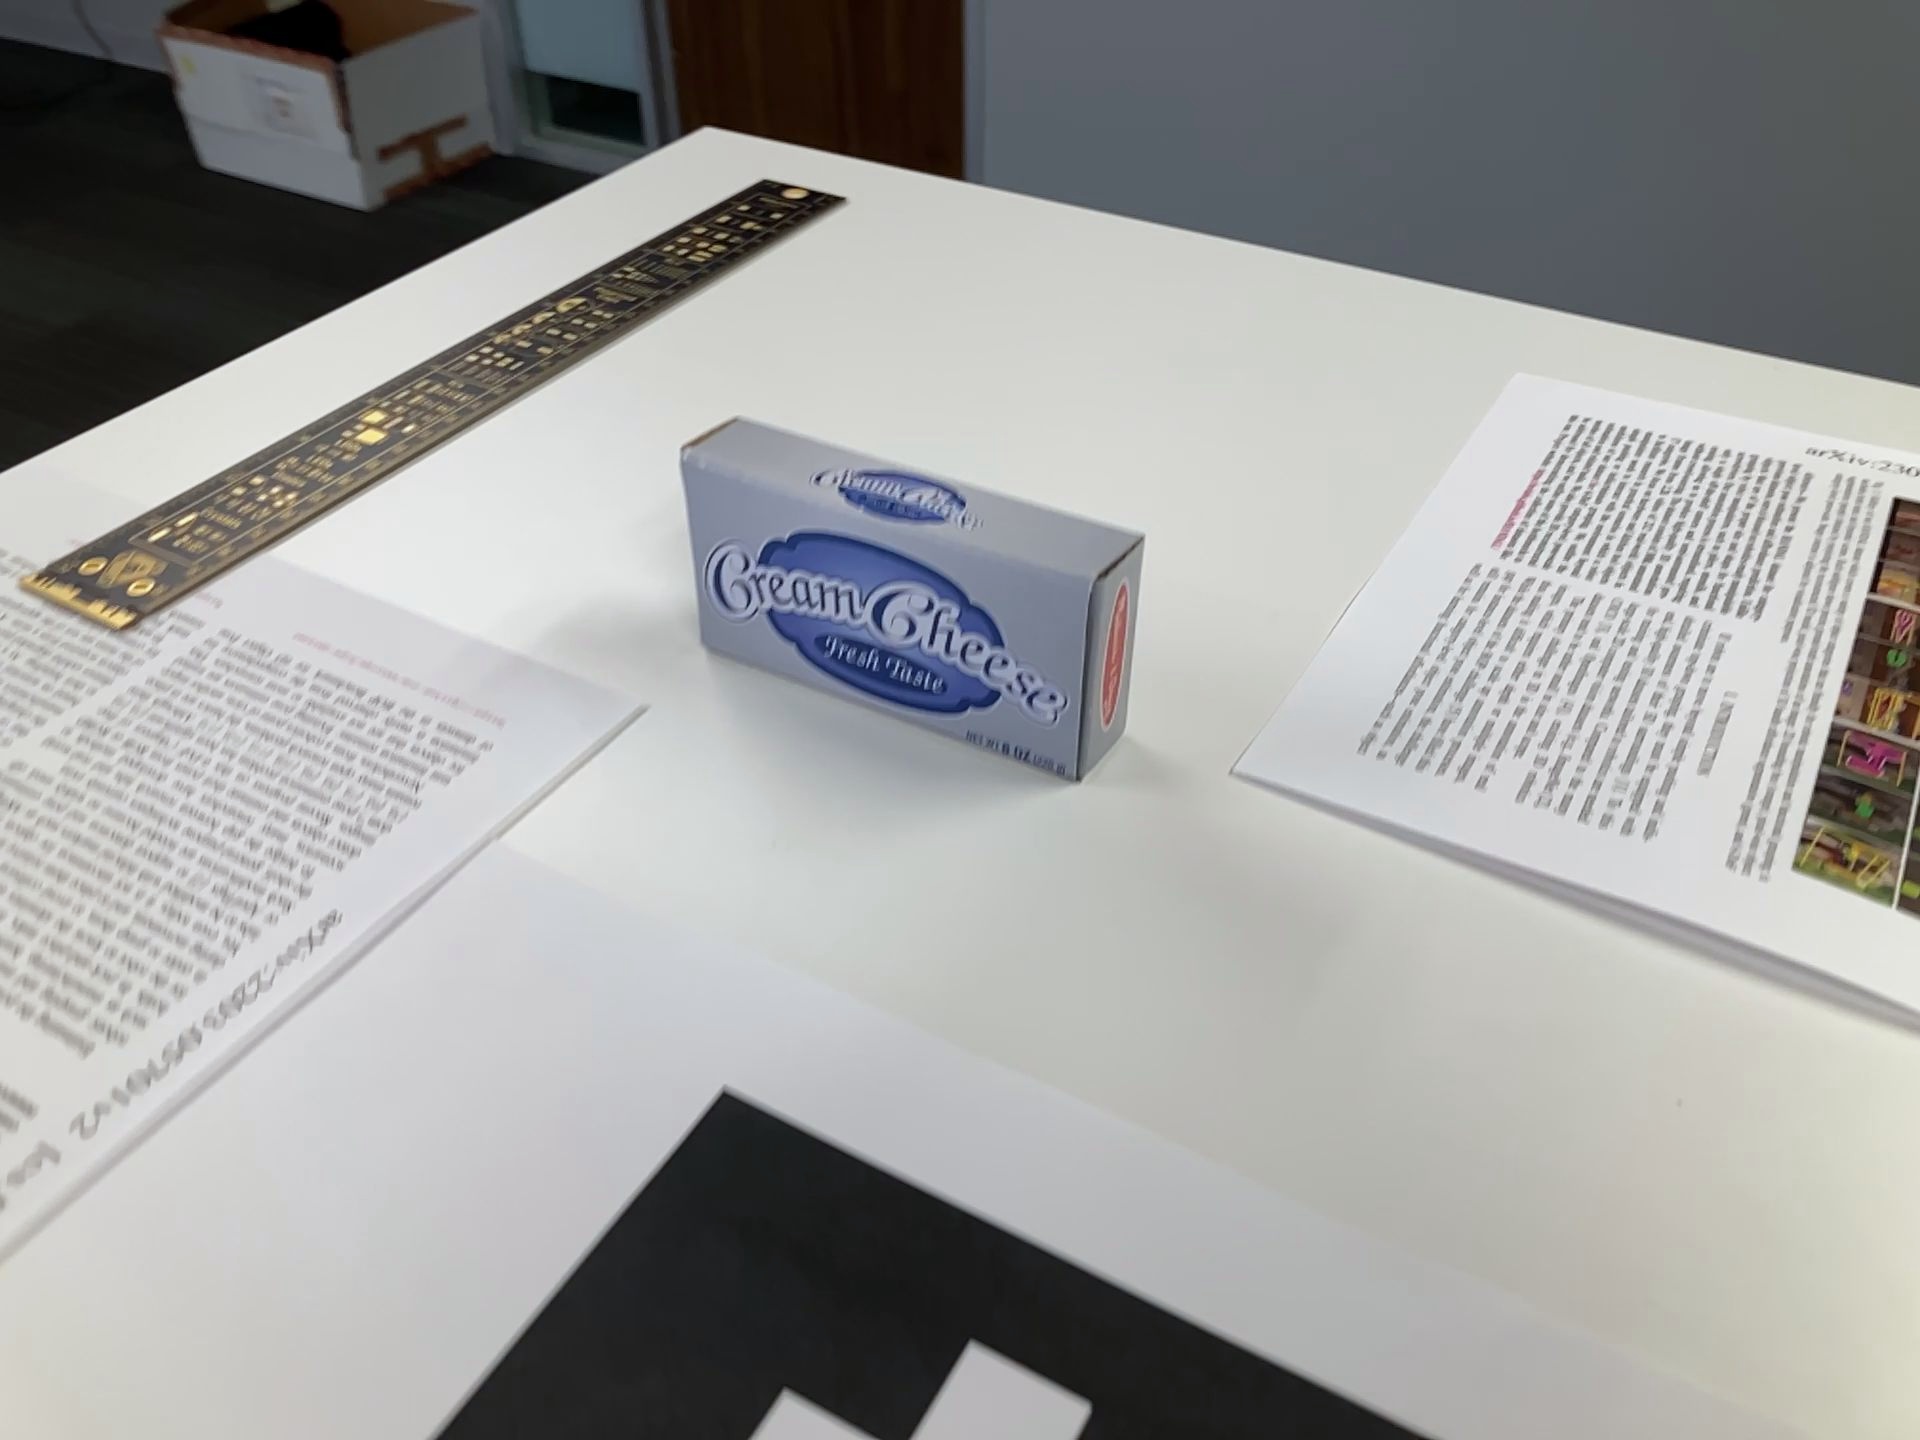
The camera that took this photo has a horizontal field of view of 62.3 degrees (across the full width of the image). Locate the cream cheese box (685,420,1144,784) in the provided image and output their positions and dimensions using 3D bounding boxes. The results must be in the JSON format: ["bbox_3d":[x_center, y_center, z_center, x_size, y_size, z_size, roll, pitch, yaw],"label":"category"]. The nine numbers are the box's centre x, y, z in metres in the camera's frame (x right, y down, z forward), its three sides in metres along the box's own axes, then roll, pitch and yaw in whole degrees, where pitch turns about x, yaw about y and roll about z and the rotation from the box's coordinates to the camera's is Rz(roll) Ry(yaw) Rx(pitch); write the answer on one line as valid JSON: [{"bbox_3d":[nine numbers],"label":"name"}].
[{"bbox_3d":[-0.013,-0.028,0.354,0.104,0.053,0.024,20,41,23],"label":"cream cheese box"}]
